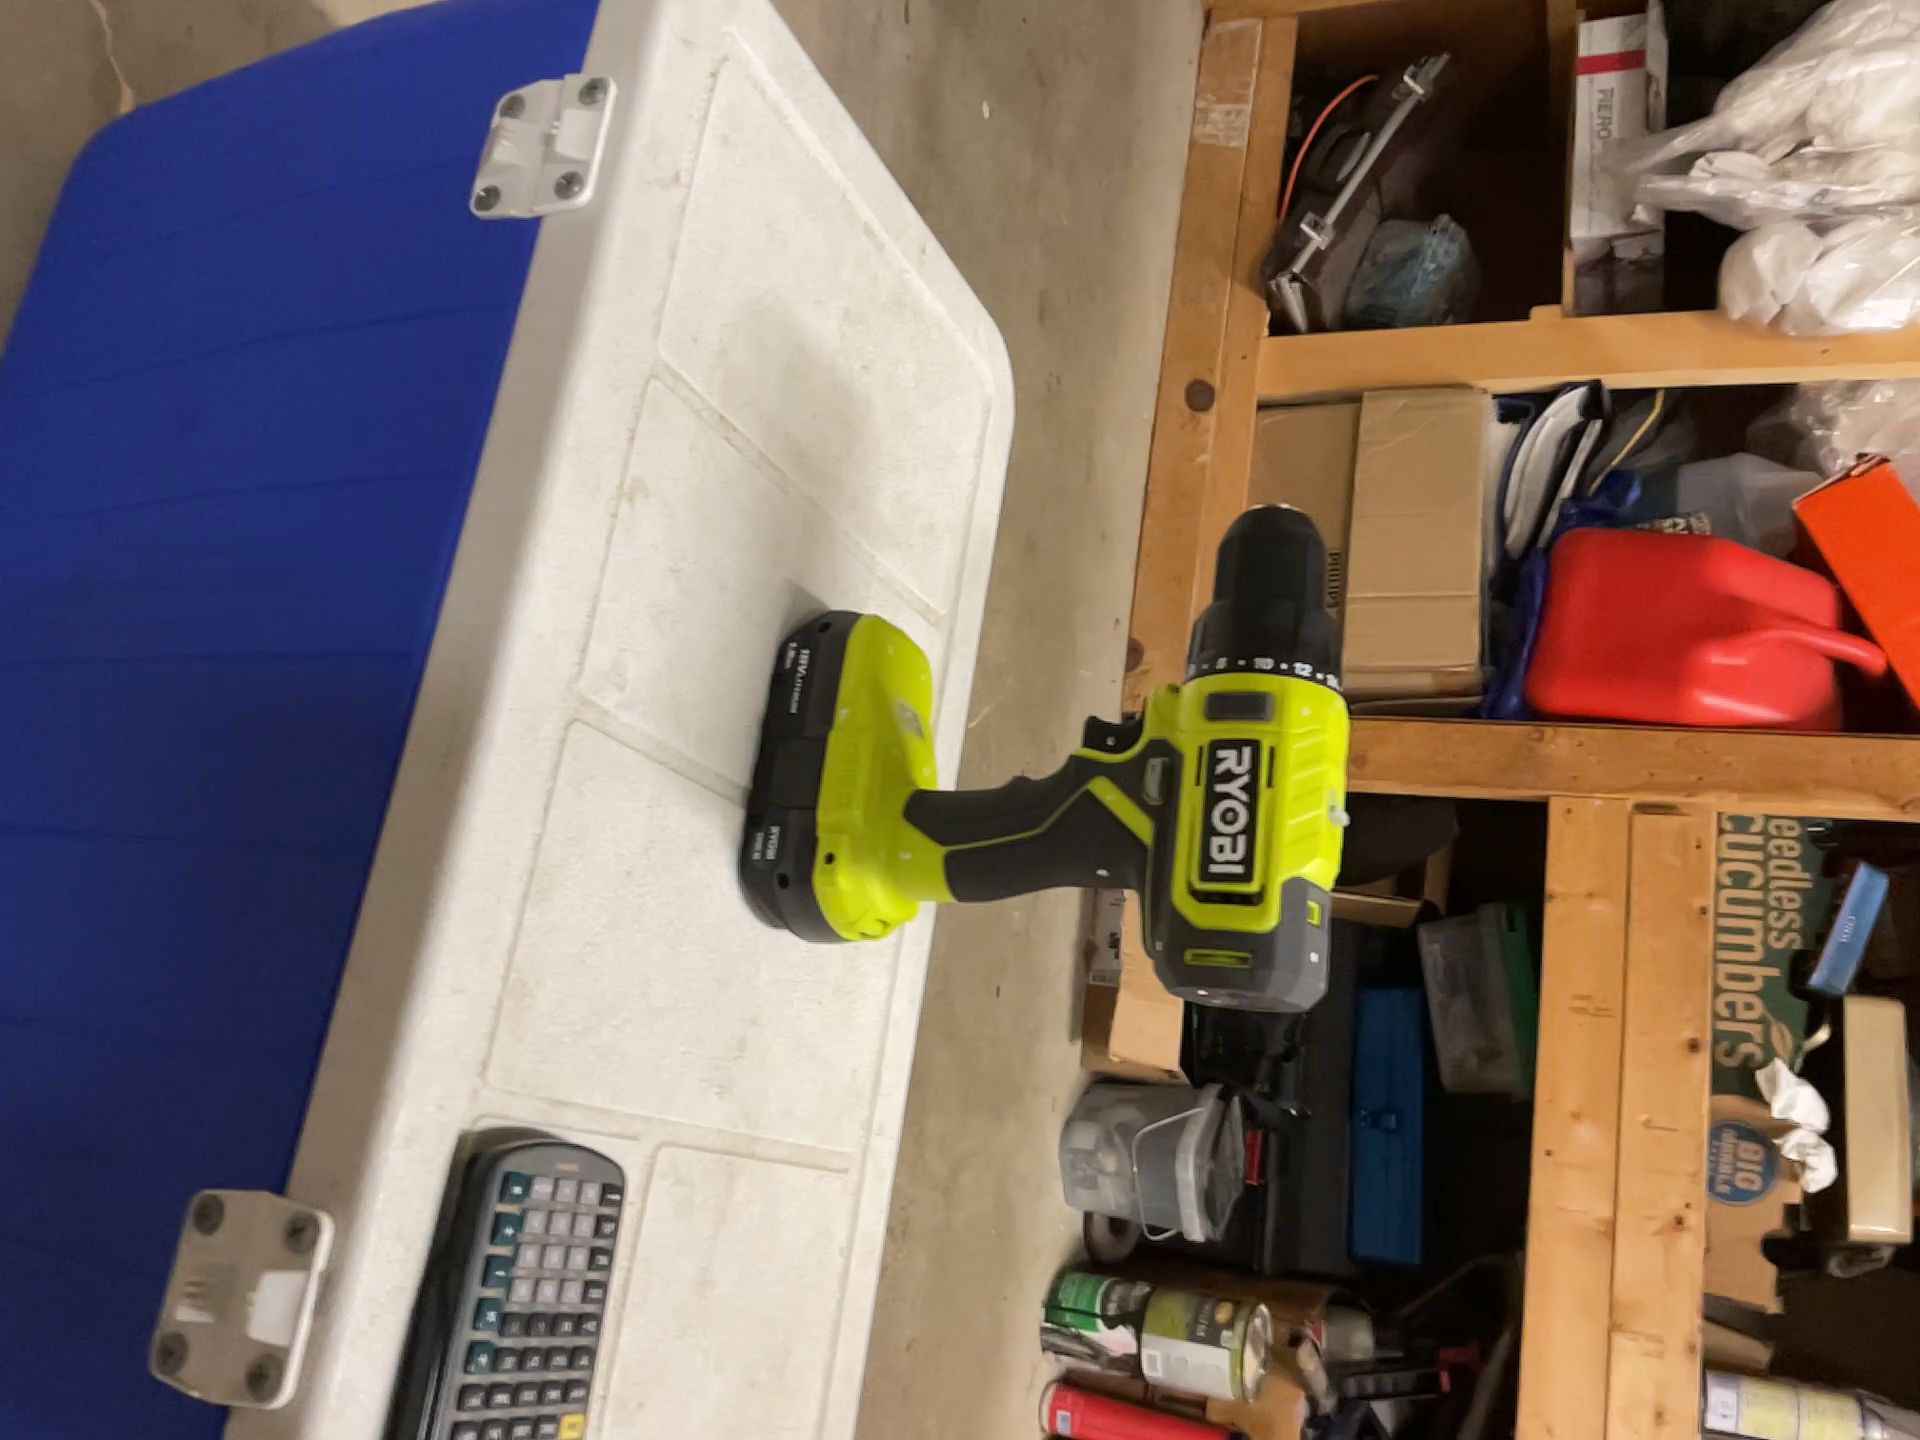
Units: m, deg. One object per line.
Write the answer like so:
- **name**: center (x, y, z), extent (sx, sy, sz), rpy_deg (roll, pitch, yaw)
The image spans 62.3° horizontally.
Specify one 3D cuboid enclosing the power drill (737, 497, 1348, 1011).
- **power drill**: center (0.038, 0.009, 0.625), extent (0.080, 0.228, 0.191), rpy_deg (38, 56, -60)
